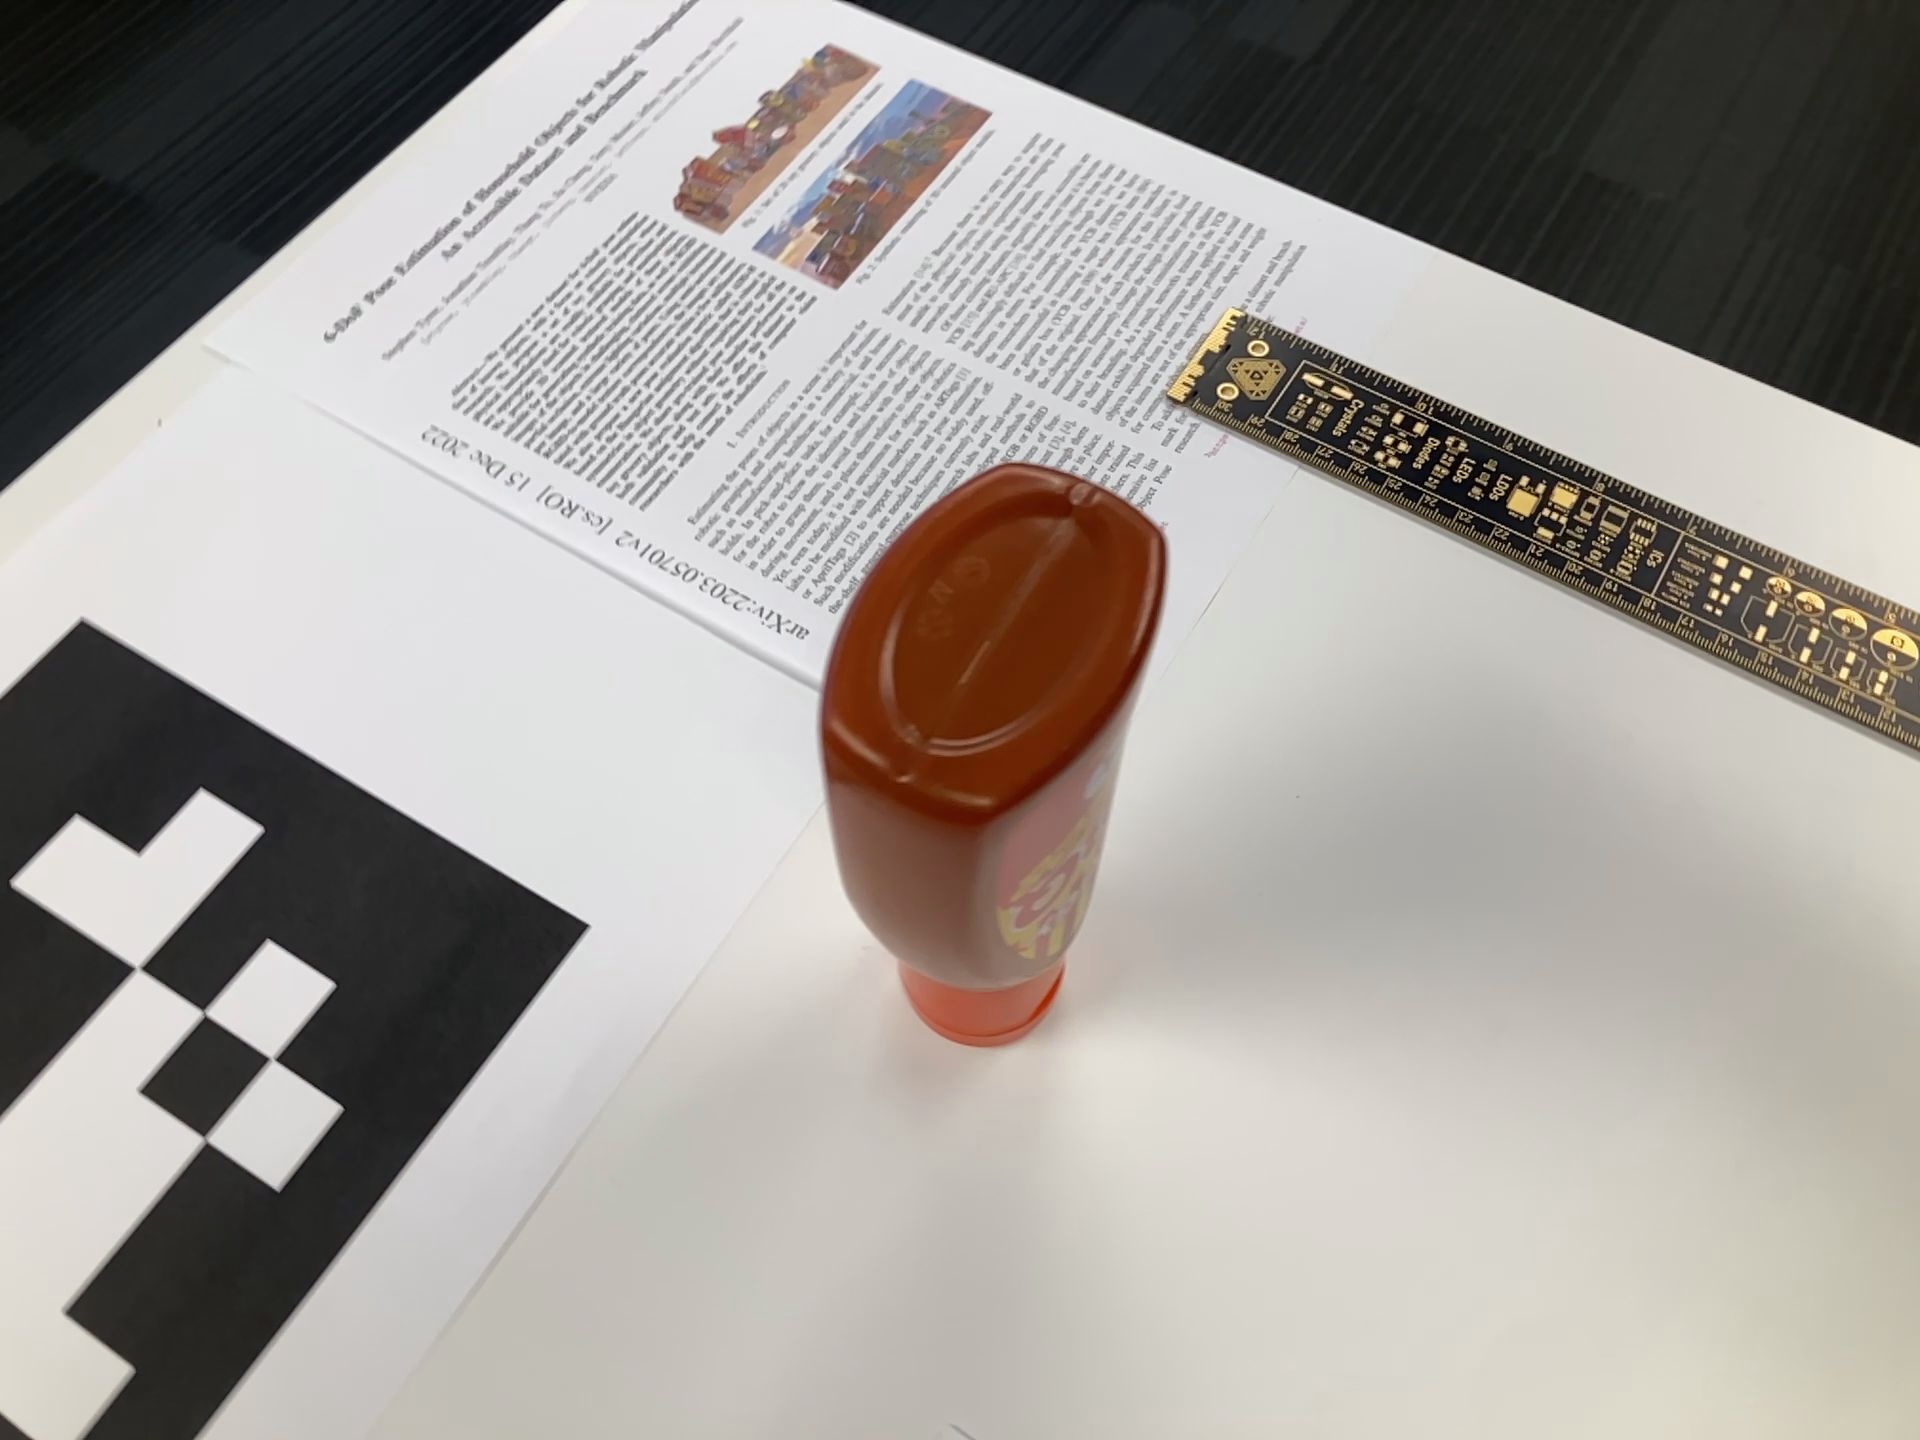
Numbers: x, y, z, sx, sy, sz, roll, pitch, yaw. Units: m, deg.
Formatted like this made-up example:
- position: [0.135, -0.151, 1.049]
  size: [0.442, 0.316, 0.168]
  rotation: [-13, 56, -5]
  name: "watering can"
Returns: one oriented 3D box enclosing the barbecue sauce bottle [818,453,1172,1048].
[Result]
- position: [0.005, 0.020, 0.290]
  size: [0.043, 0.148, 0.065]
  rotation: [27, 64, 14]
  name: "barbecue sauce bottle"
